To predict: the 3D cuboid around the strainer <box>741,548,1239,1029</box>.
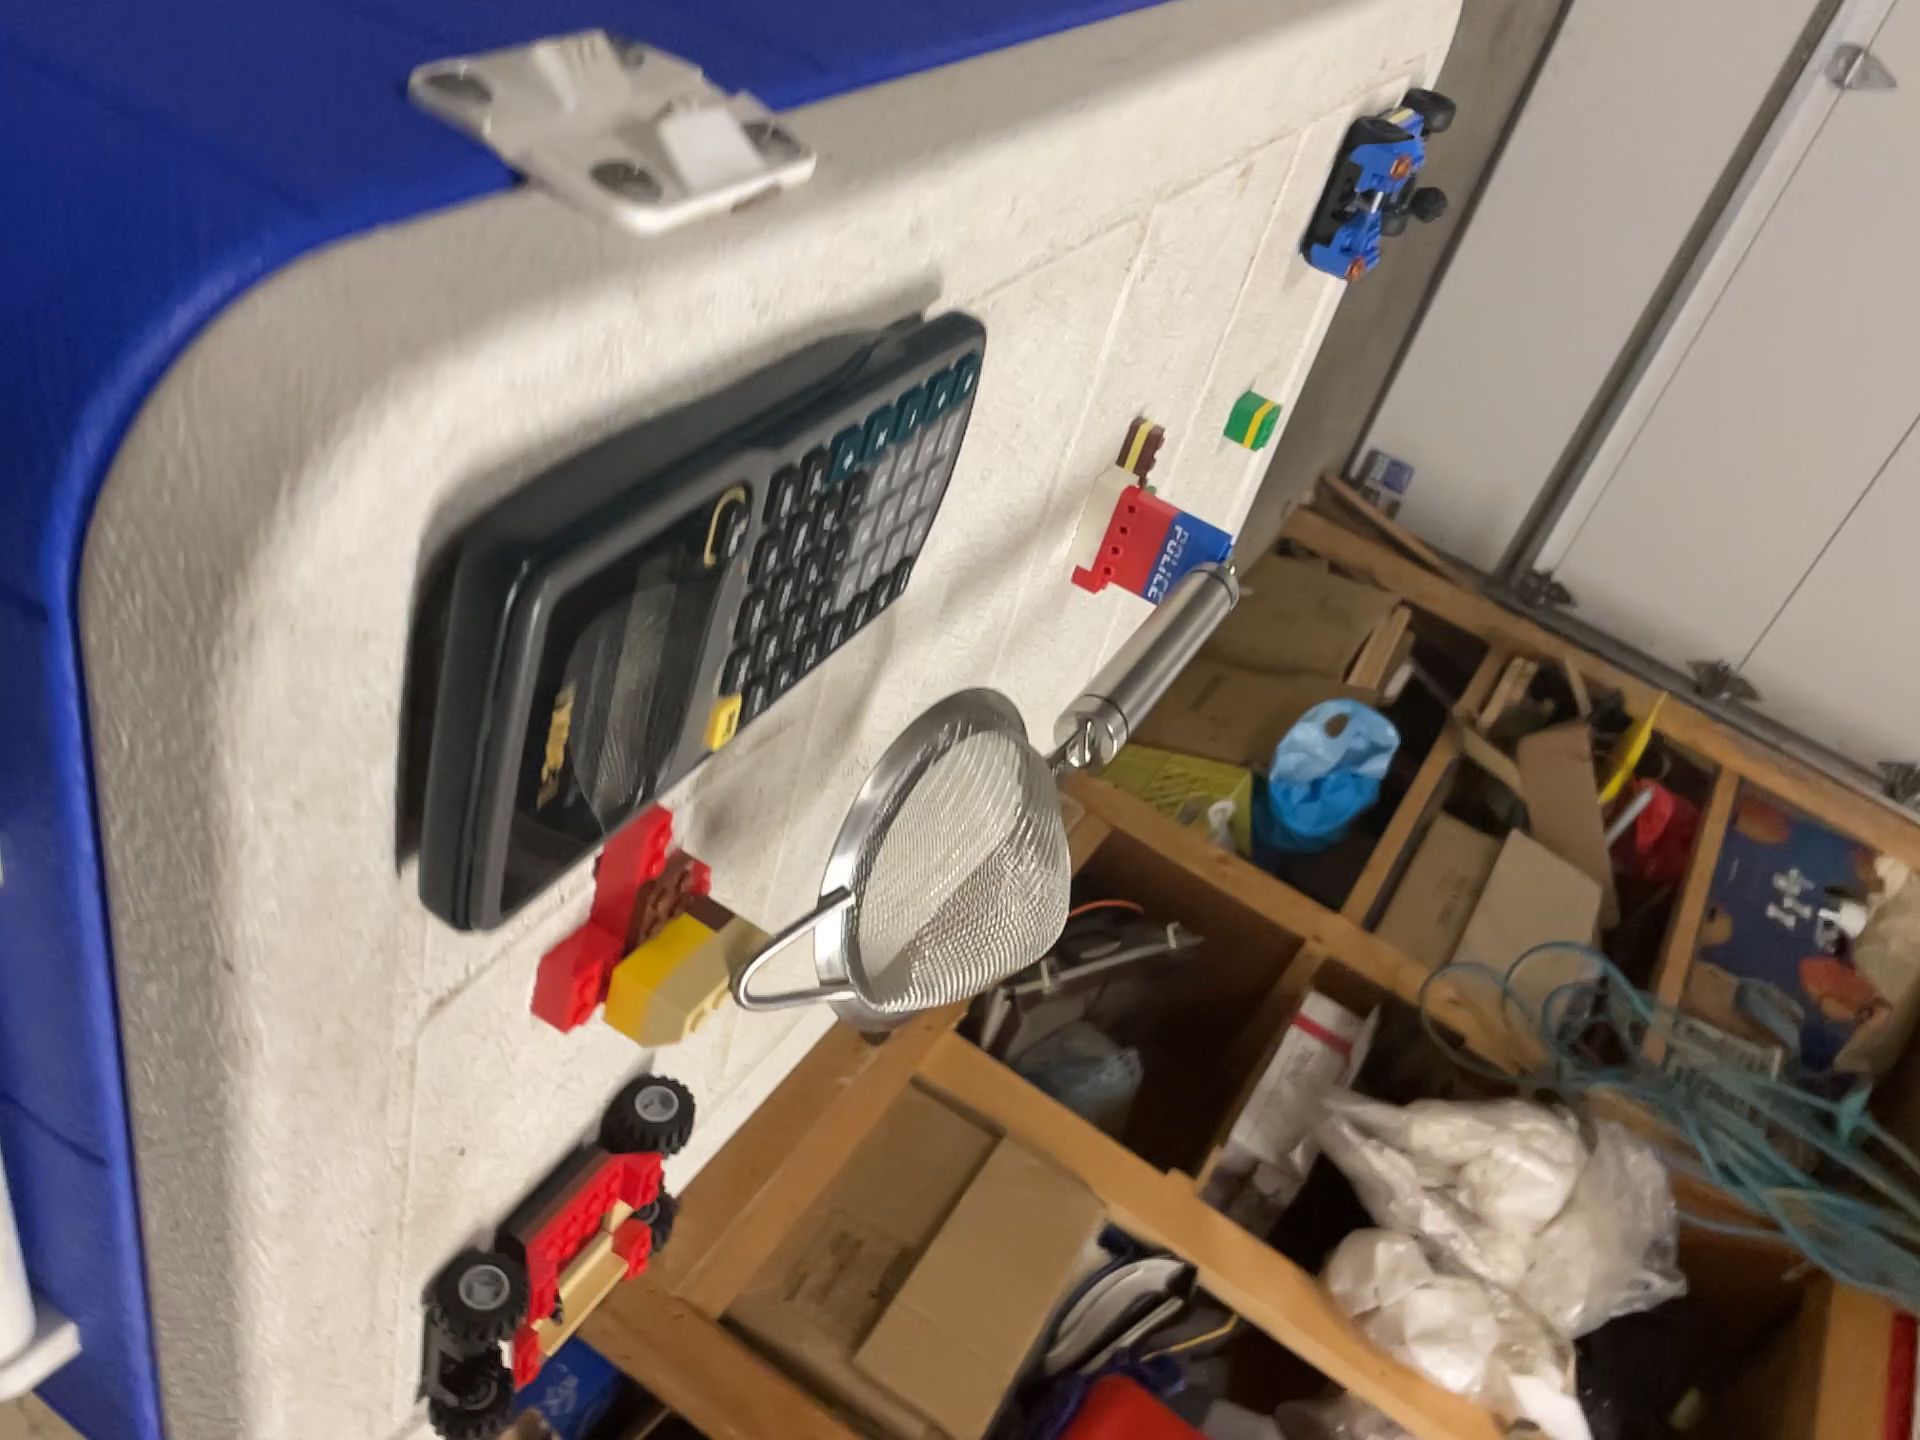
[{"bbox_3d":[0.033,0.004,0.427,0.258,0.050,0.086,-45,143,-51],"label":"strainer"}]
